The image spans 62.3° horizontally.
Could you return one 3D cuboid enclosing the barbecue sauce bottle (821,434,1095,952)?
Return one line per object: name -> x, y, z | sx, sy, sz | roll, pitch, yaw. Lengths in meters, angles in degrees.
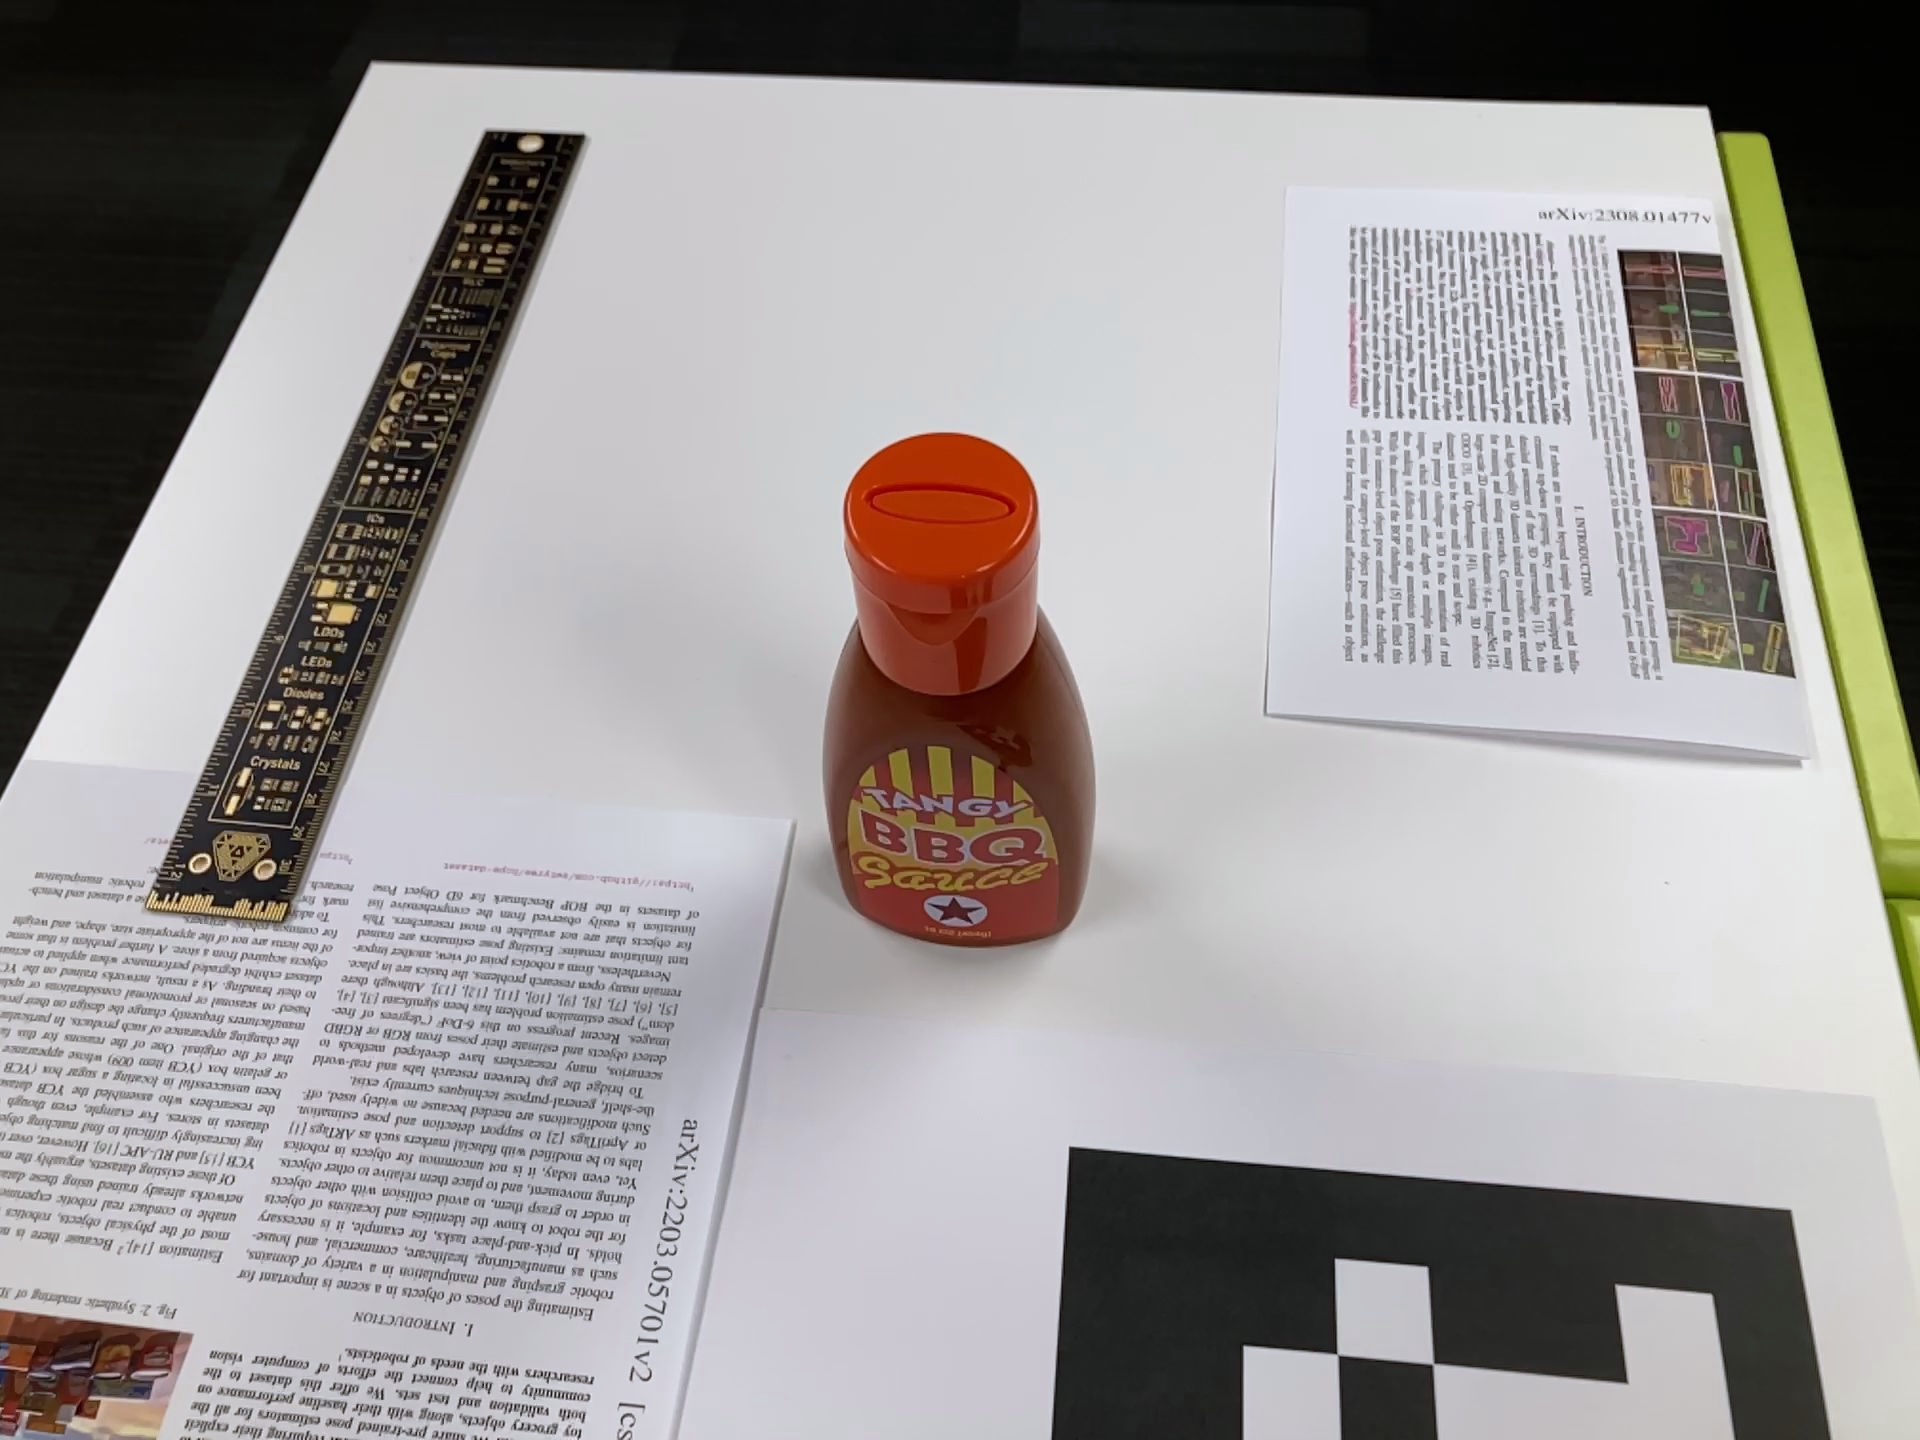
barbecue sauce bottle -> -0.001, 0.001, 0.351 | 0.065, 0.148, 0.043 | 5, 57, 6
